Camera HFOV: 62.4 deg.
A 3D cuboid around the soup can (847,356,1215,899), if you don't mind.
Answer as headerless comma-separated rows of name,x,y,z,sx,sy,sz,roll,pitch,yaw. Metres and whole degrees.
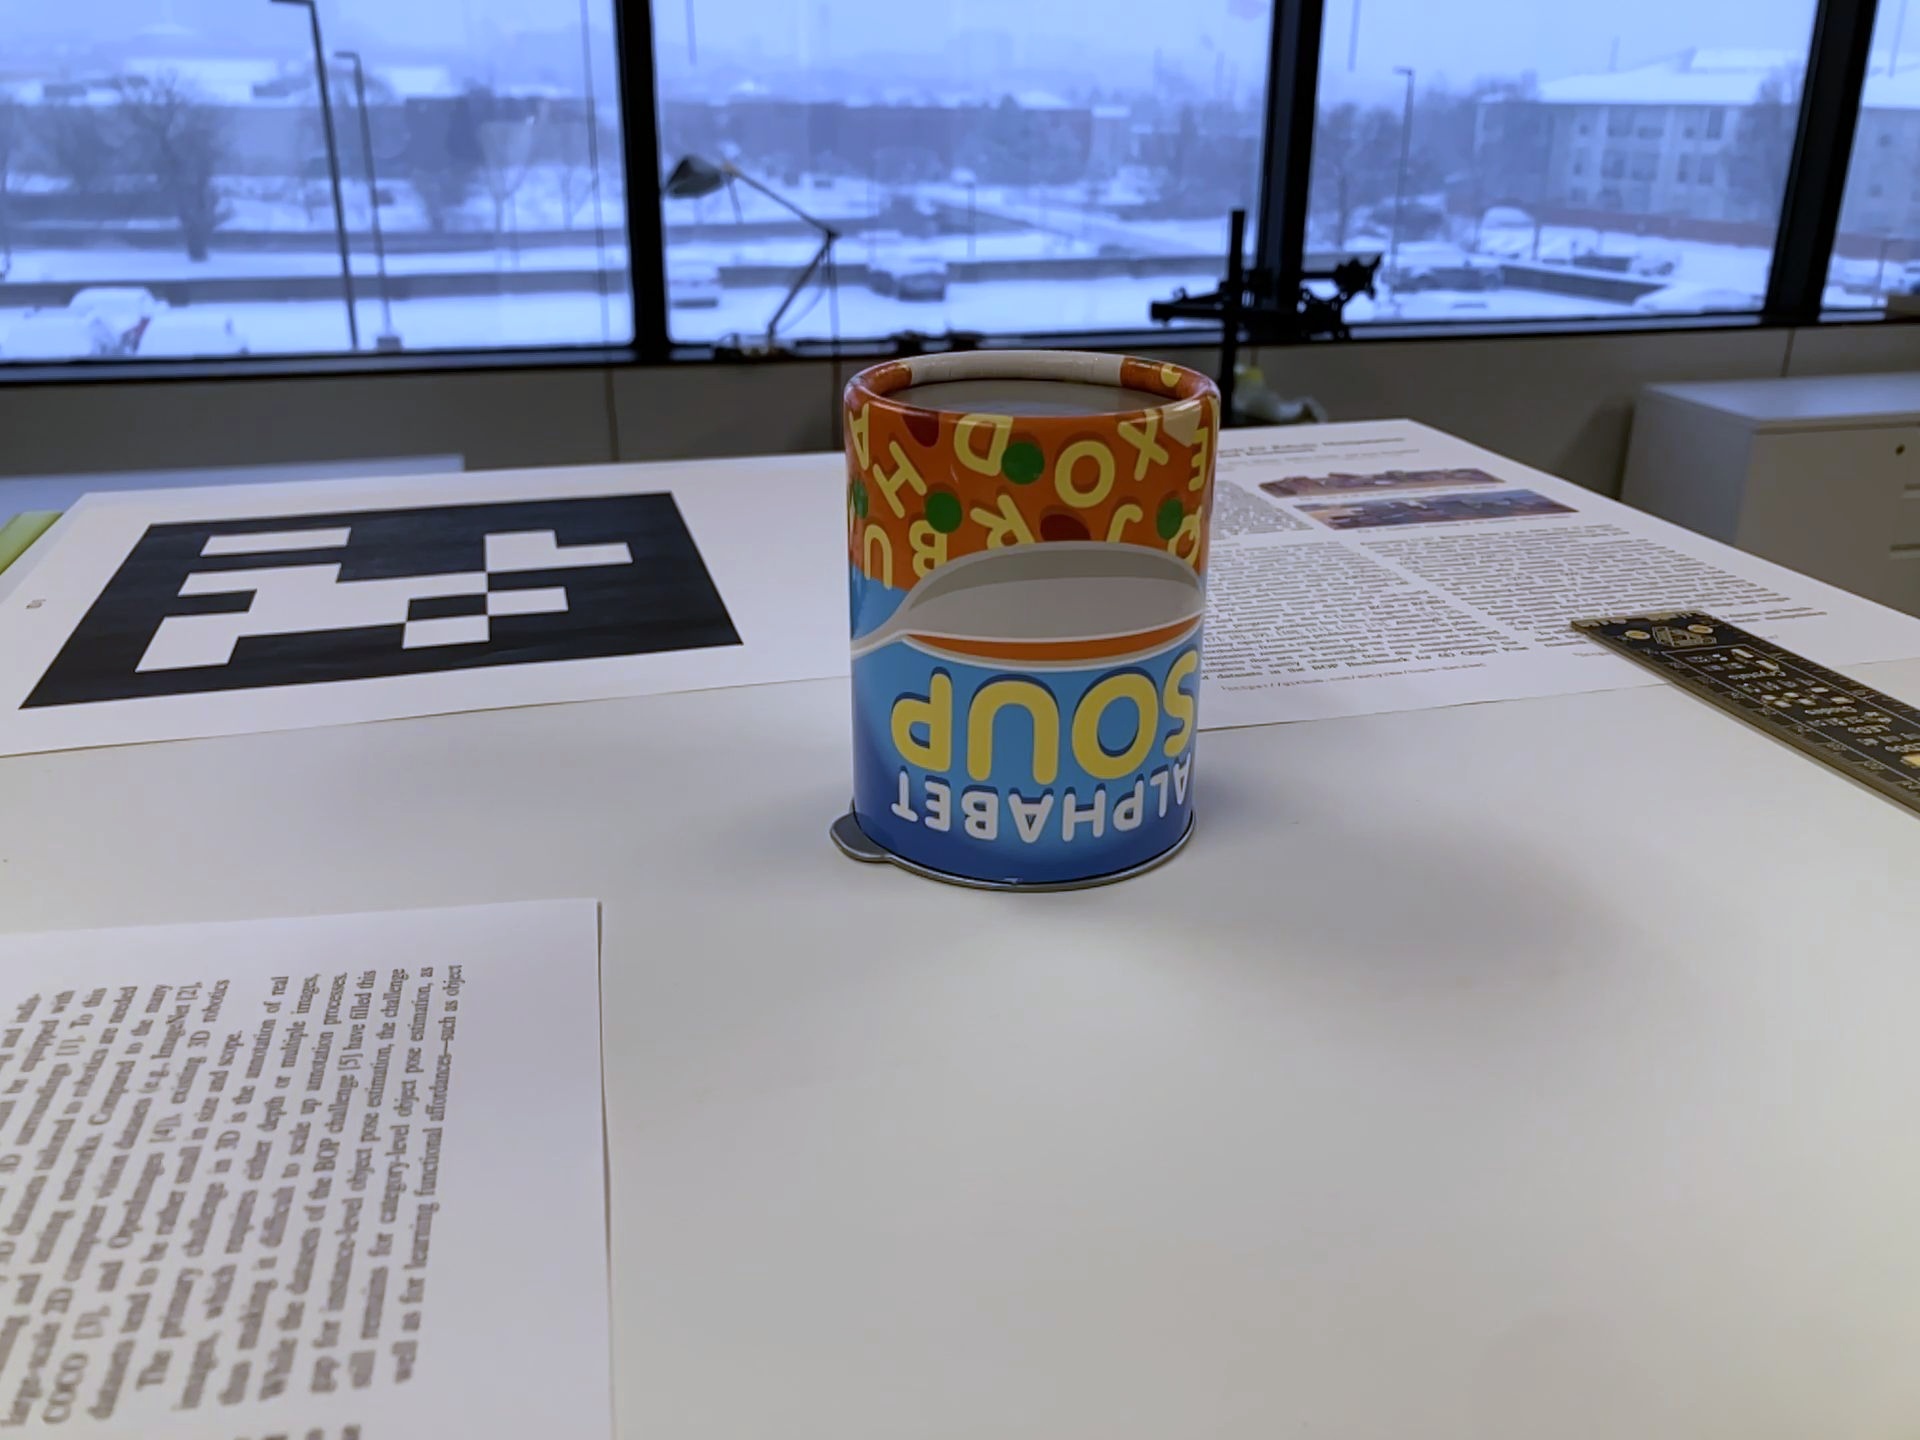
soup can,0.013,-0.020,0.294,0.071,0.084,0.071,0,22,0
